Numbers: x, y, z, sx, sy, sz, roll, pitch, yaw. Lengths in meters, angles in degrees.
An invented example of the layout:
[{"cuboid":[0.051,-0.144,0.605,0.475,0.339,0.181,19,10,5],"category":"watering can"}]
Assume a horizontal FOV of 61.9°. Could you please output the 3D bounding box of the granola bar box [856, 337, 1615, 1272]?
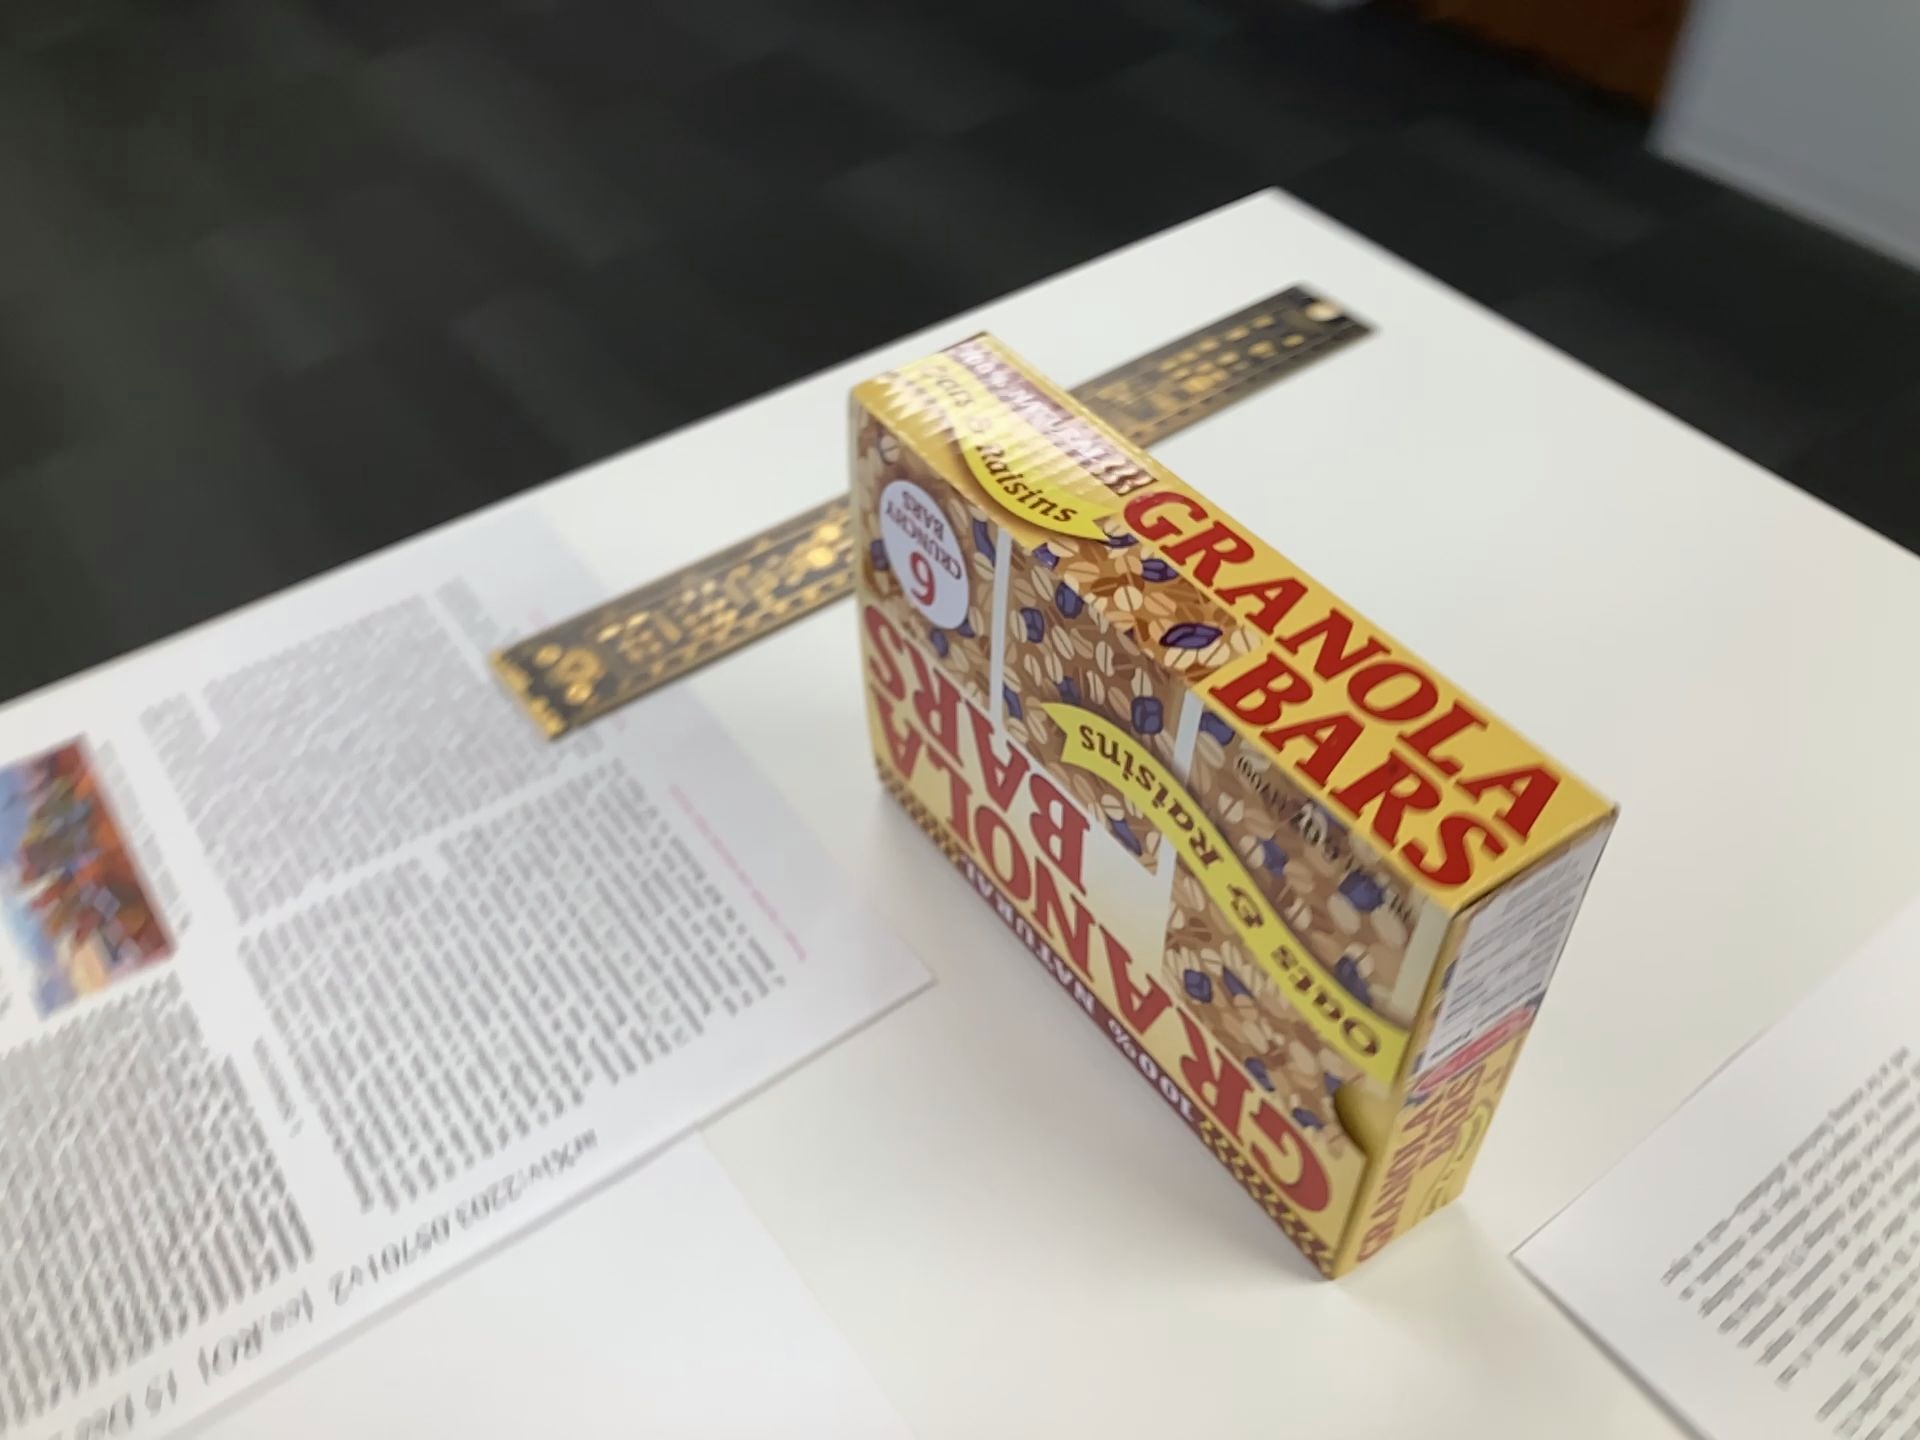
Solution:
[{"cuboid":[0.040,0.015,0.330,0.039,0.124,0.165,-28,51,-23],"category":"granola bar box"}]
